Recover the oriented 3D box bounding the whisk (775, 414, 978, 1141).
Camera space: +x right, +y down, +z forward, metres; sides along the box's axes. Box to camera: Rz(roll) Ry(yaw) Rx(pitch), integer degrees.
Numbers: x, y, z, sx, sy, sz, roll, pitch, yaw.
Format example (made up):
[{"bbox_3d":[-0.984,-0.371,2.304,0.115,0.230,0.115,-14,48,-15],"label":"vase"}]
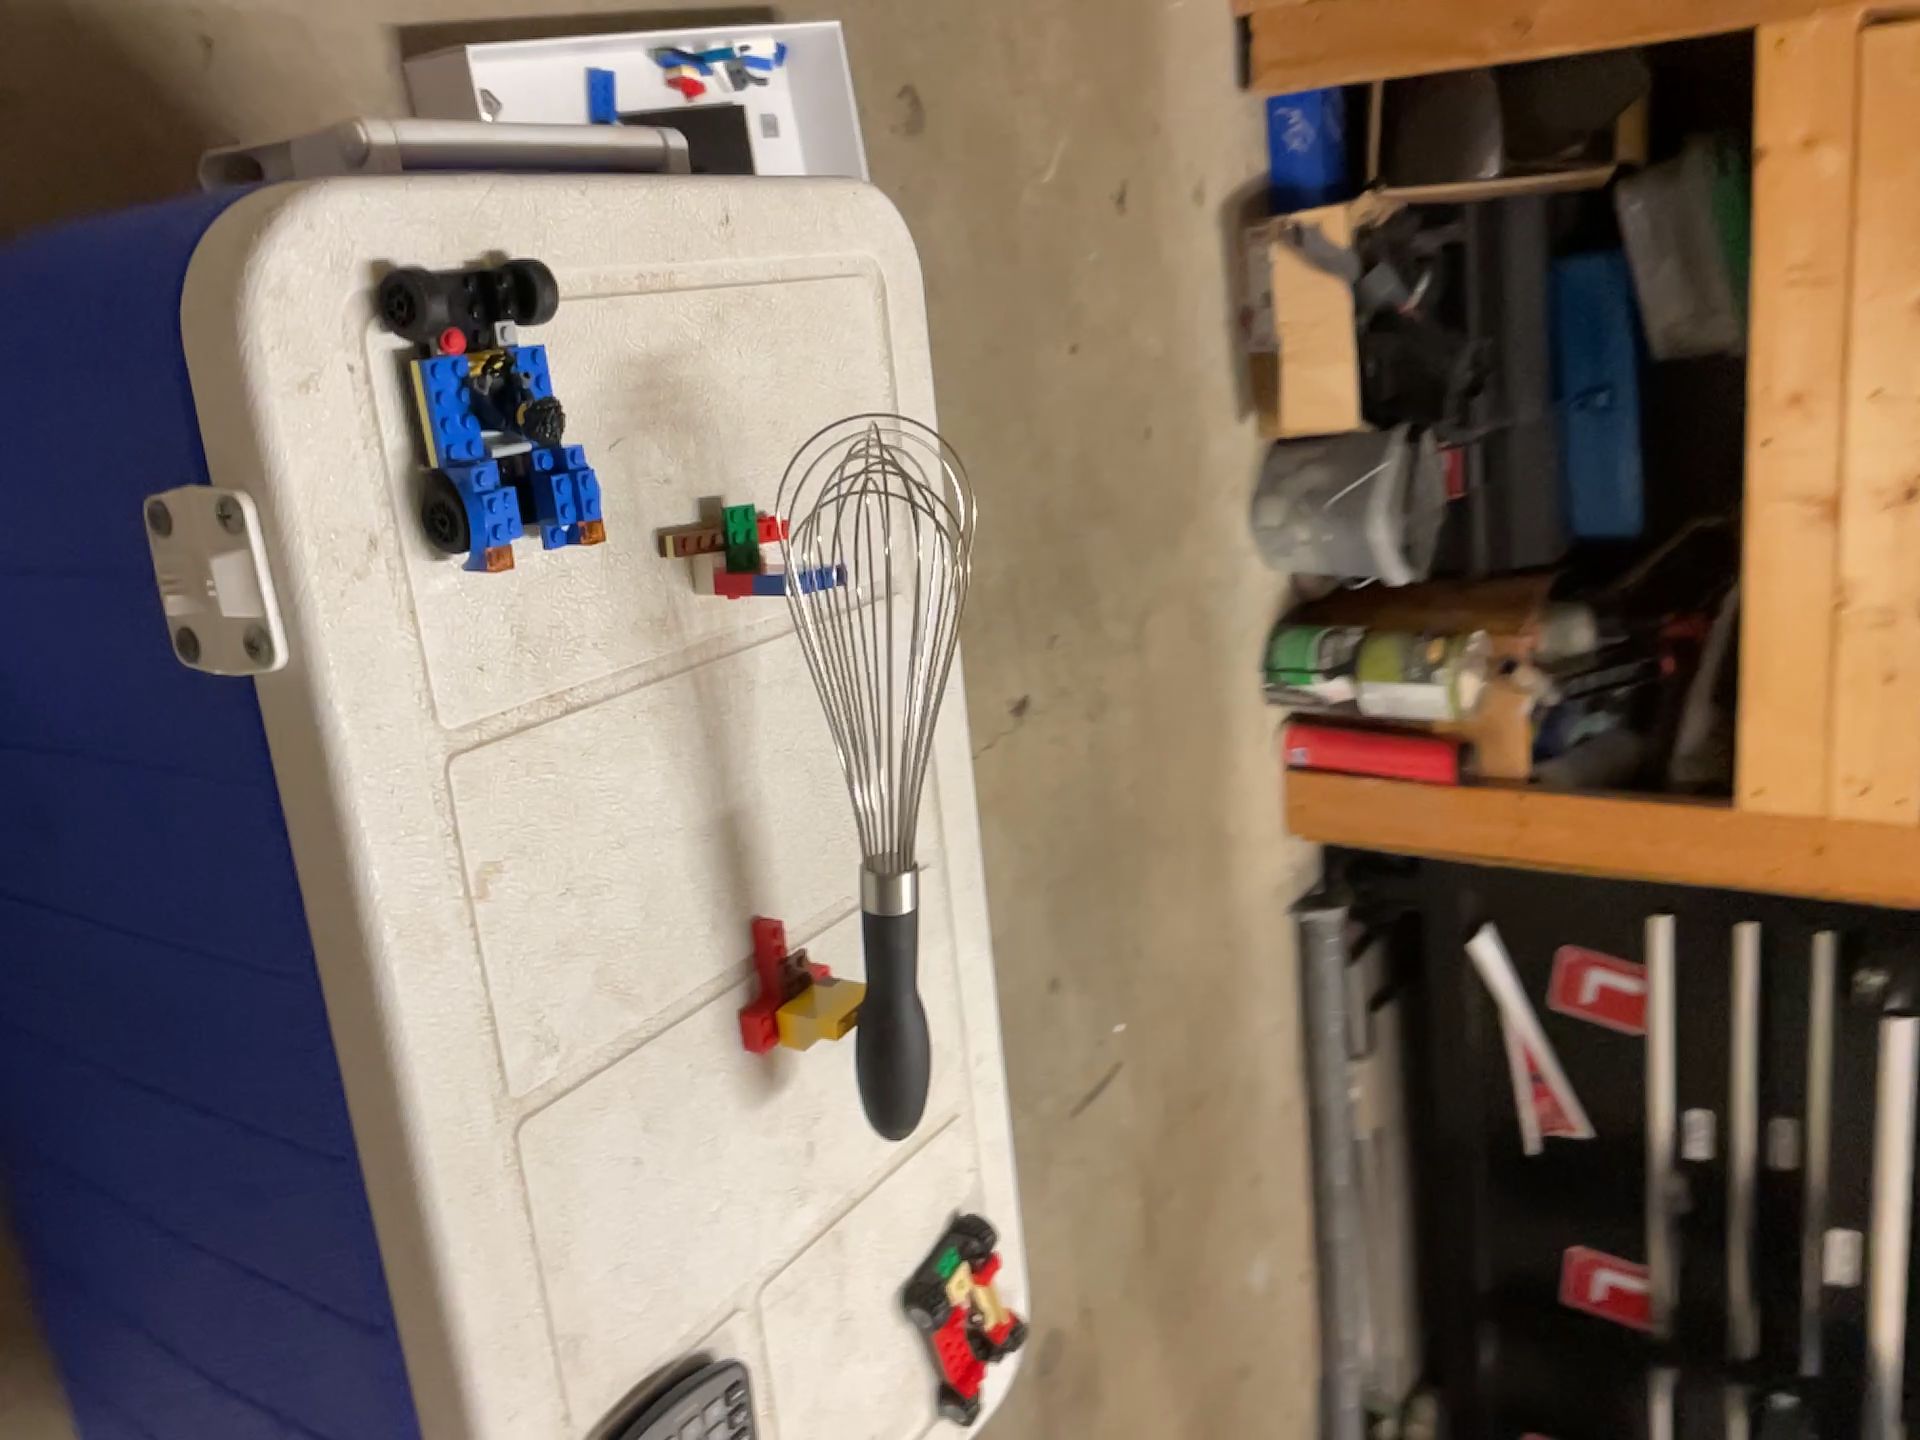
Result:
[{"bbox_3d":[-0.026,0.031,0.587,0.070,0.070,0.284,-33,127,-56],"label":"whisk"}]
